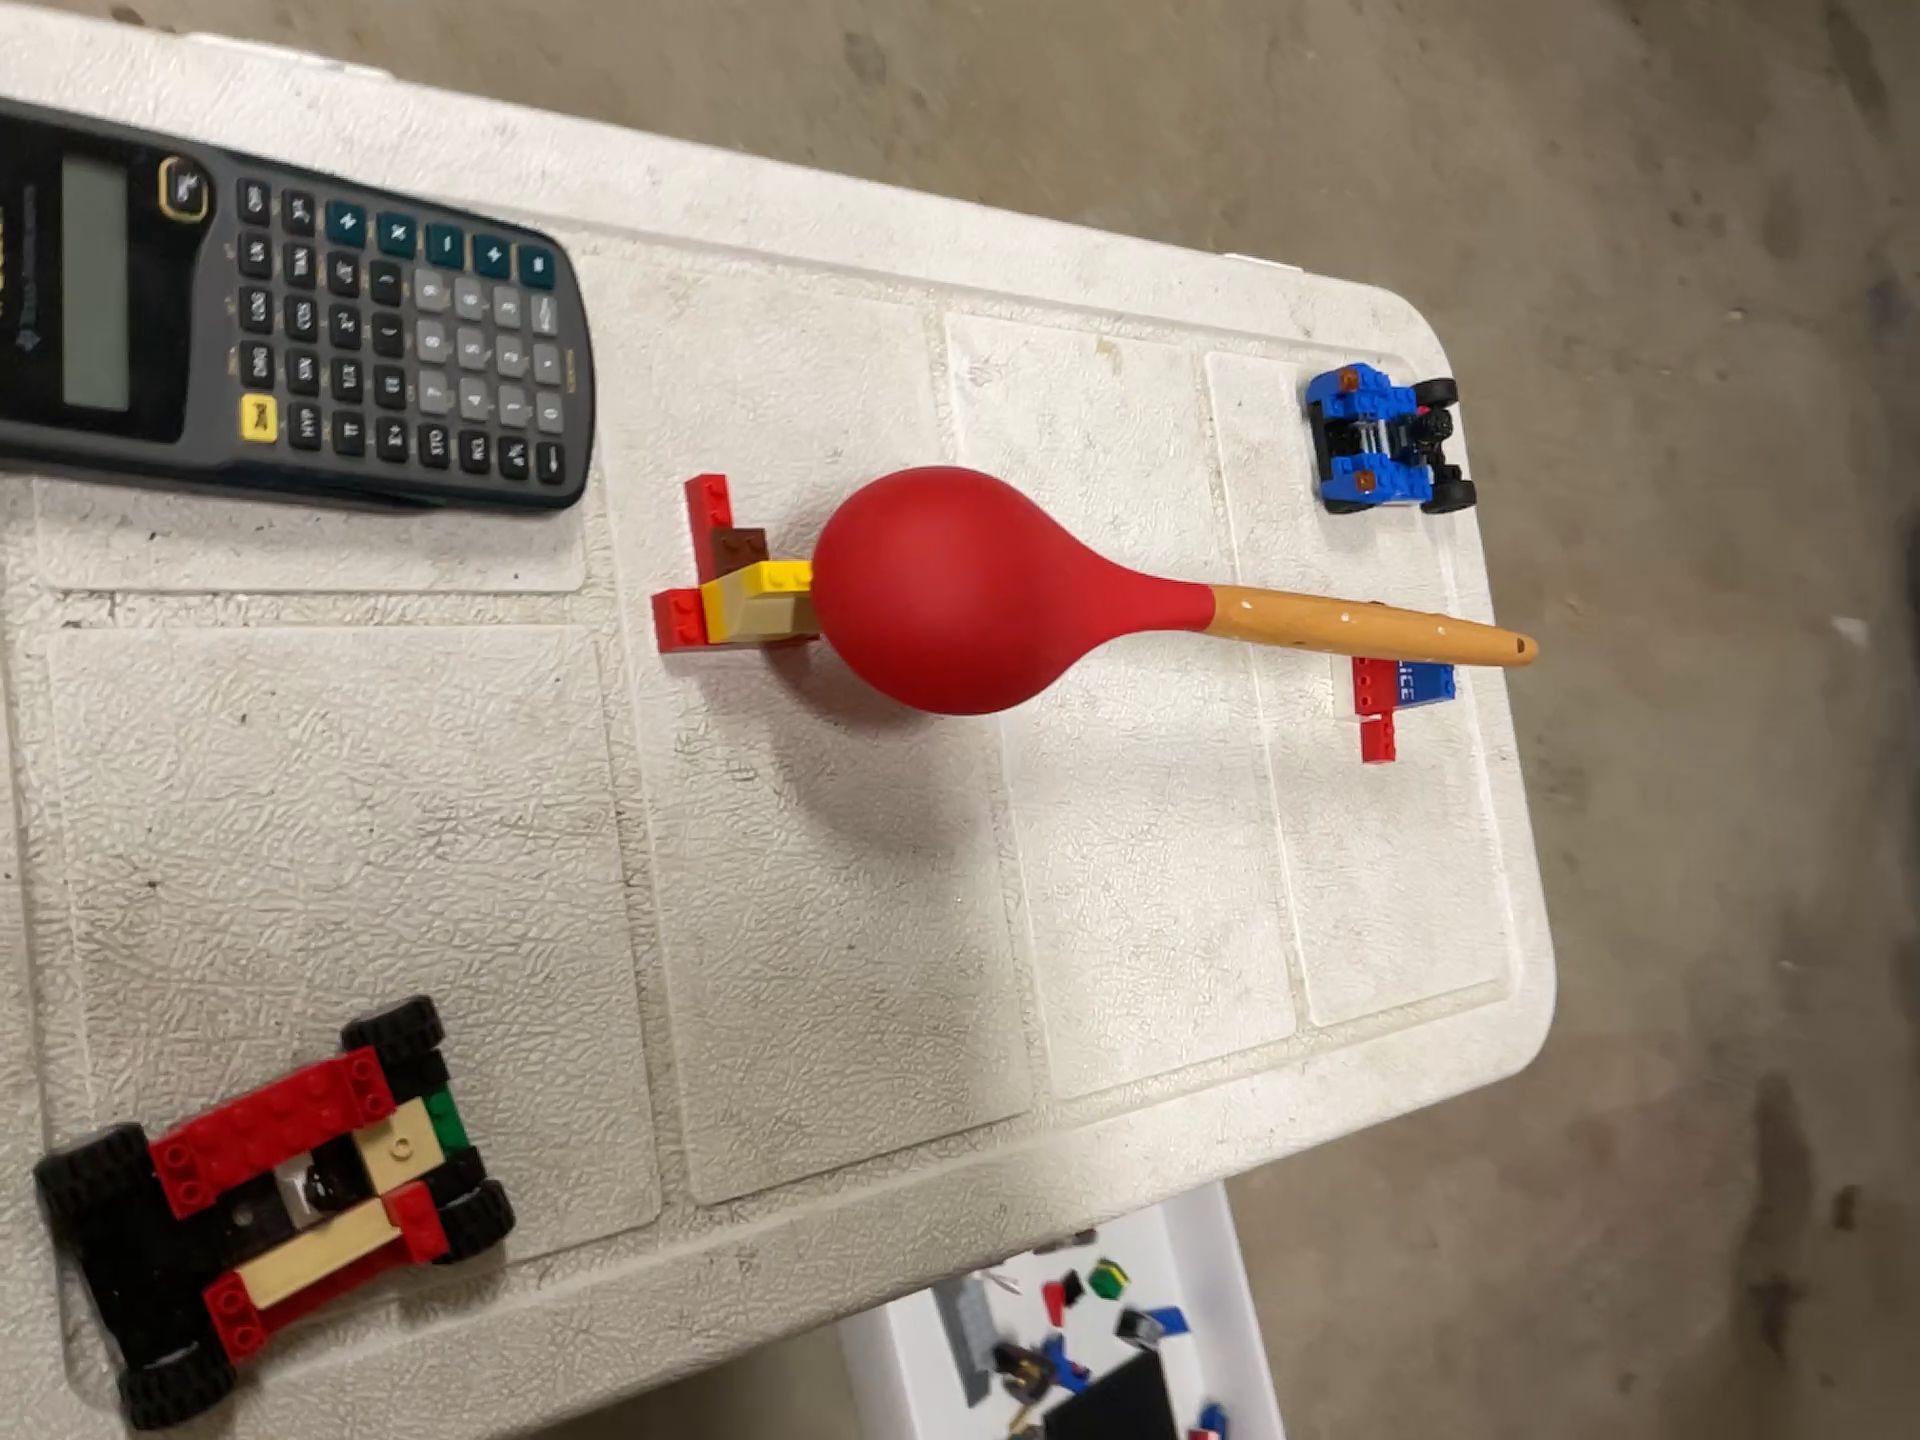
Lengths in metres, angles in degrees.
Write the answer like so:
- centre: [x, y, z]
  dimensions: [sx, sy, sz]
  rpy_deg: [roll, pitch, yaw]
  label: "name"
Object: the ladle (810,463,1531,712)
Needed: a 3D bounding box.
- centre: [0.091, -0.031, 0.503]
  dimensions: [0.315, 0.031, 0.069]
  rpy_deg: [3, 78, -40]
  label: "ladle"
